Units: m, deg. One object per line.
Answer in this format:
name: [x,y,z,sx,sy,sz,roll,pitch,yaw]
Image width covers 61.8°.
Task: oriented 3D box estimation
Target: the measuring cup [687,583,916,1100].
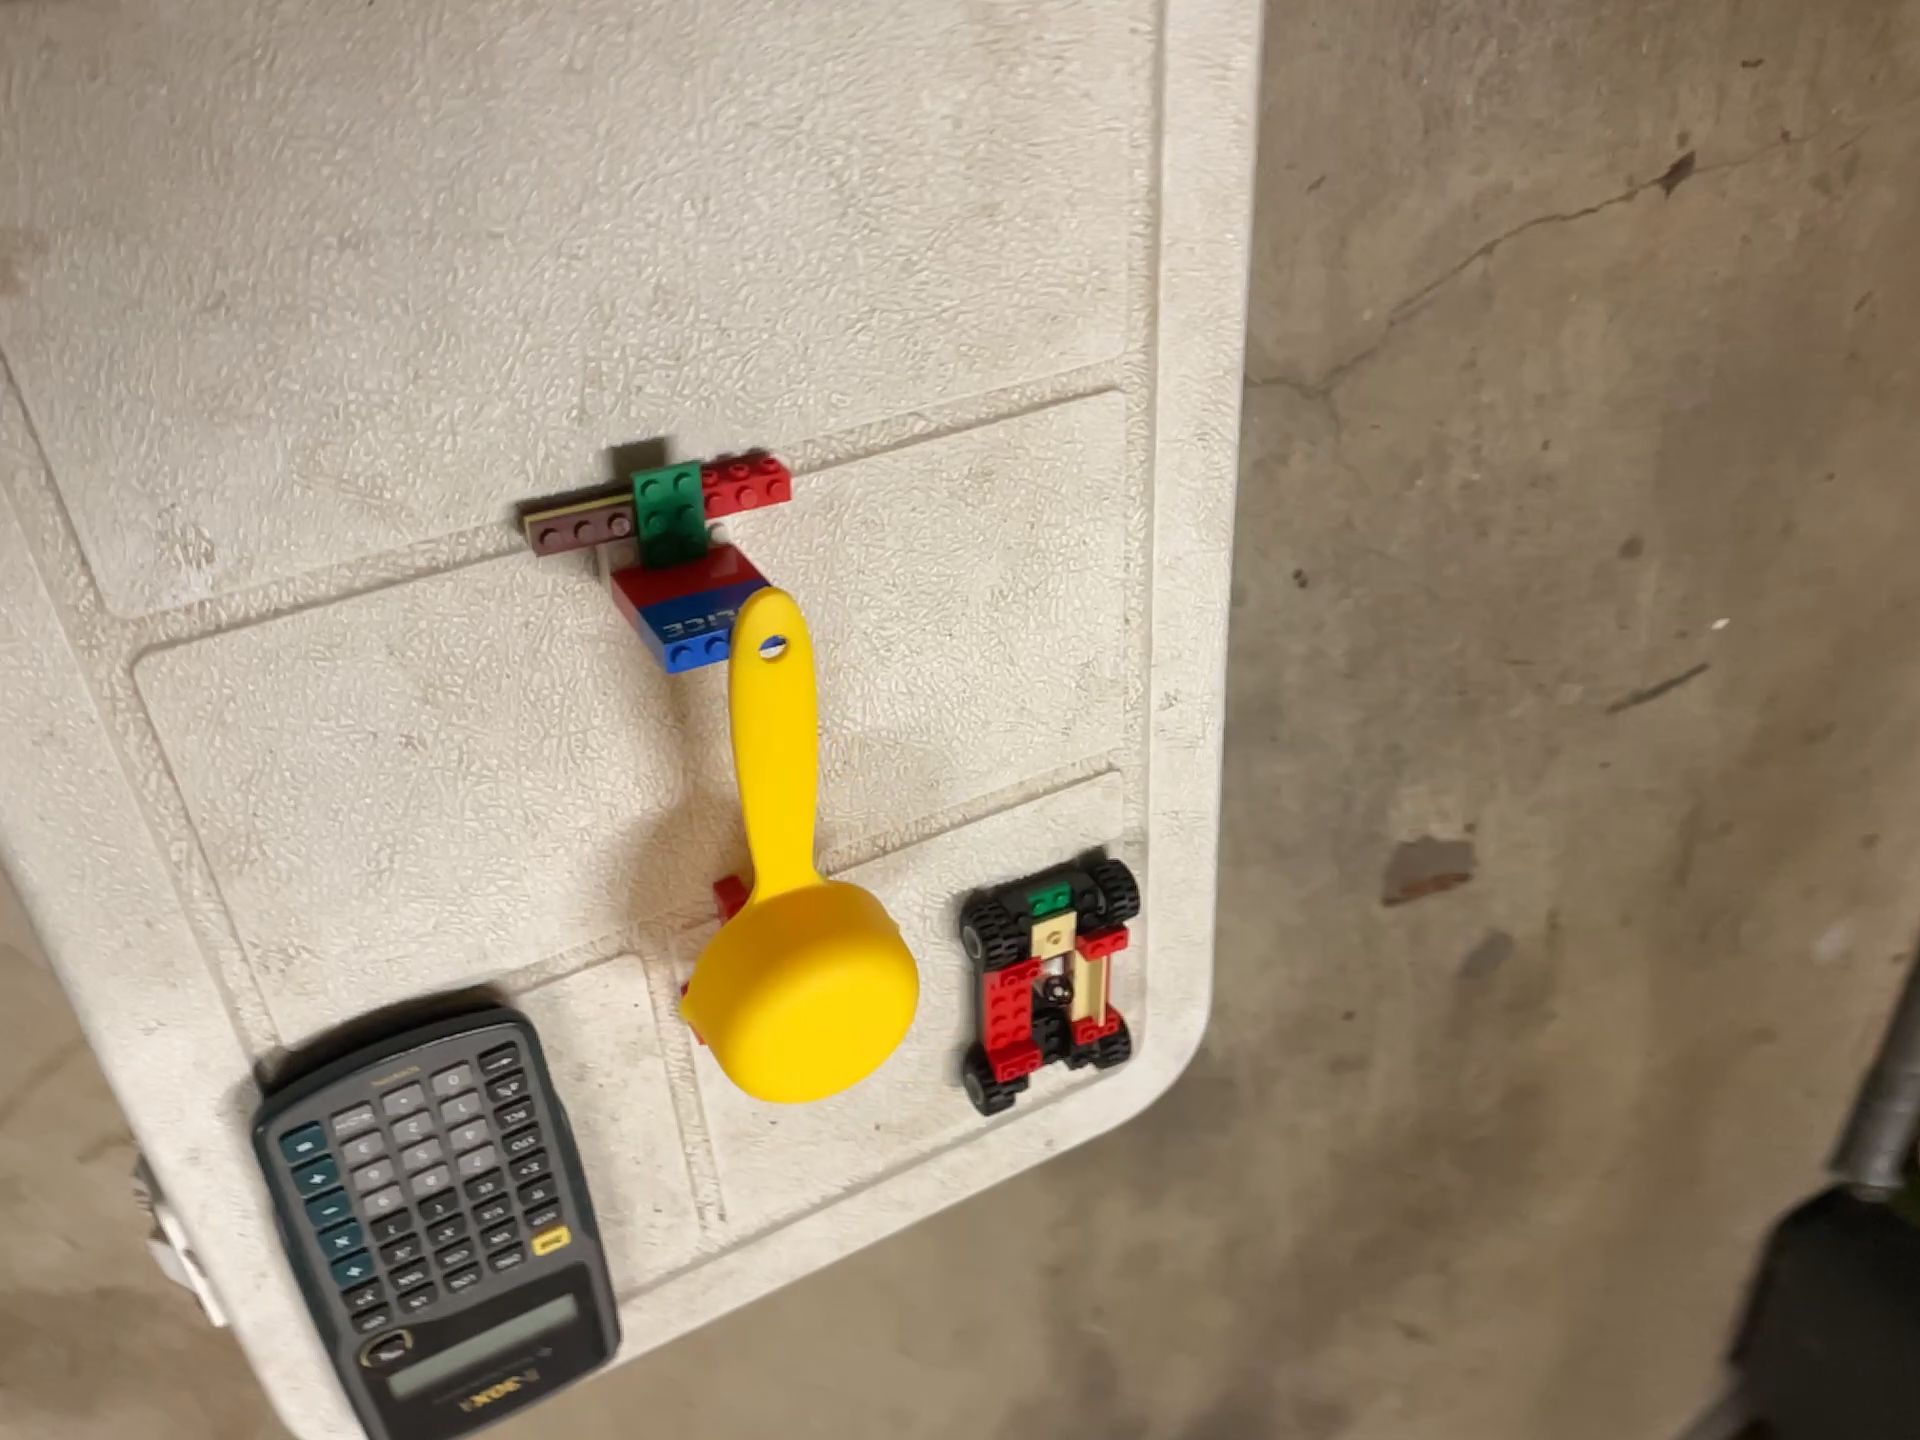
measuring cup: [-0.039,0.037,0.397,0.062,0.029,0.156,-18,133,-22]
